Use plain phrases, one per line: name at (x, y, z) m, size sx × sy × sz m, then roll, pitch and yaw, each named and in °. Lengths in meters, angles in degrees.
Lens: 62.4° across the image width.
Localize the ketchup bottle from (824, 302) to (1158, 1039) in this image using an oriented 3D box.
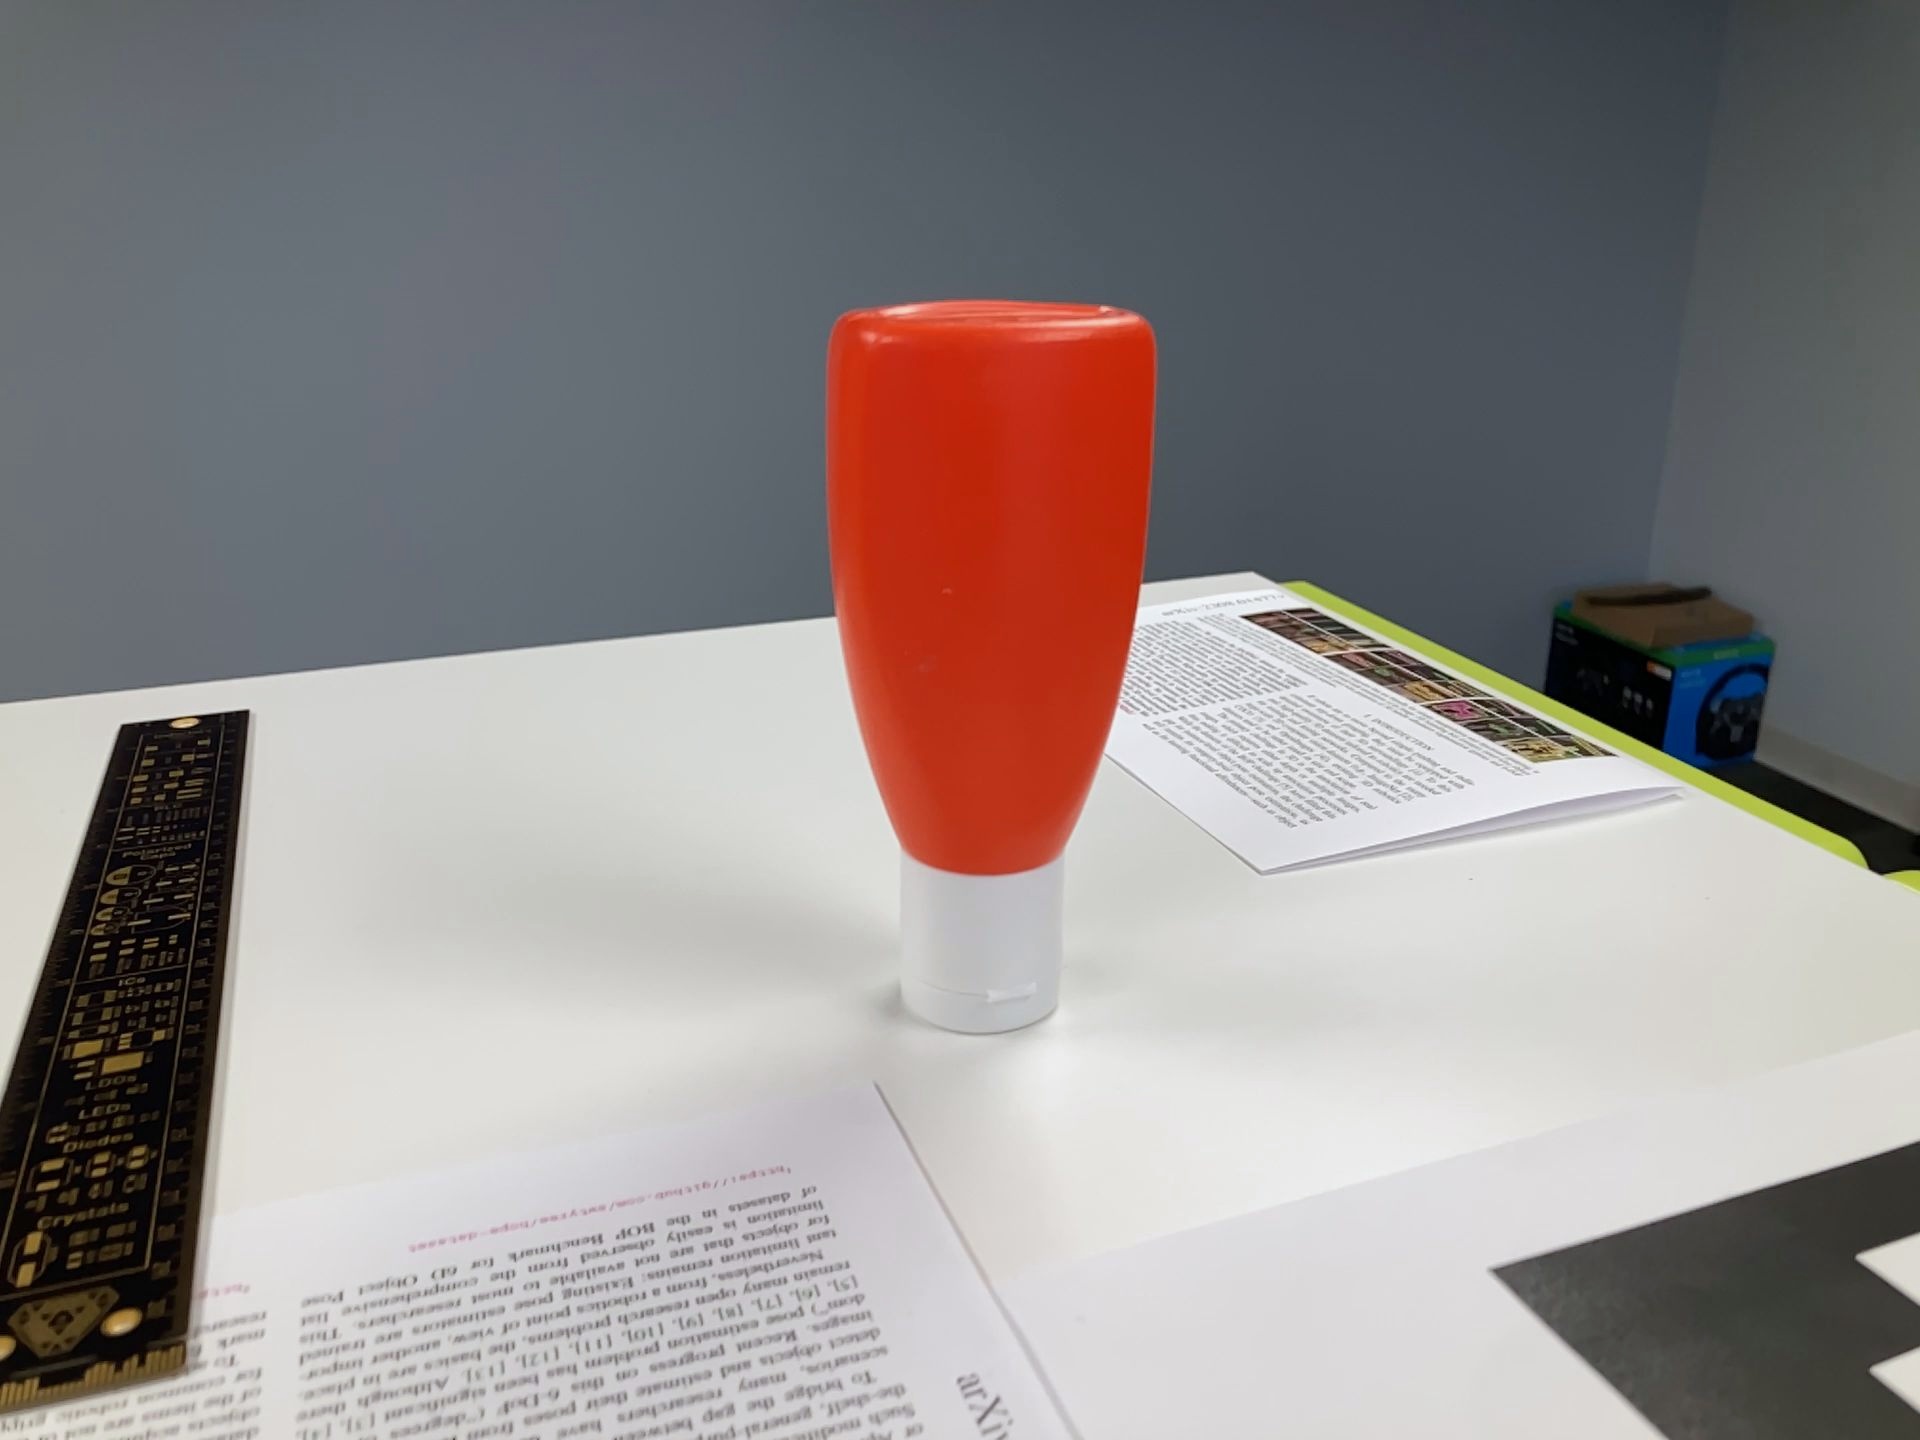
ketchup bottle at (0.005, -0.008, 0.325) m, size 0.065 × 0.149 × 0.043 m, roll -6°, pitch 20°, yaw -19°
